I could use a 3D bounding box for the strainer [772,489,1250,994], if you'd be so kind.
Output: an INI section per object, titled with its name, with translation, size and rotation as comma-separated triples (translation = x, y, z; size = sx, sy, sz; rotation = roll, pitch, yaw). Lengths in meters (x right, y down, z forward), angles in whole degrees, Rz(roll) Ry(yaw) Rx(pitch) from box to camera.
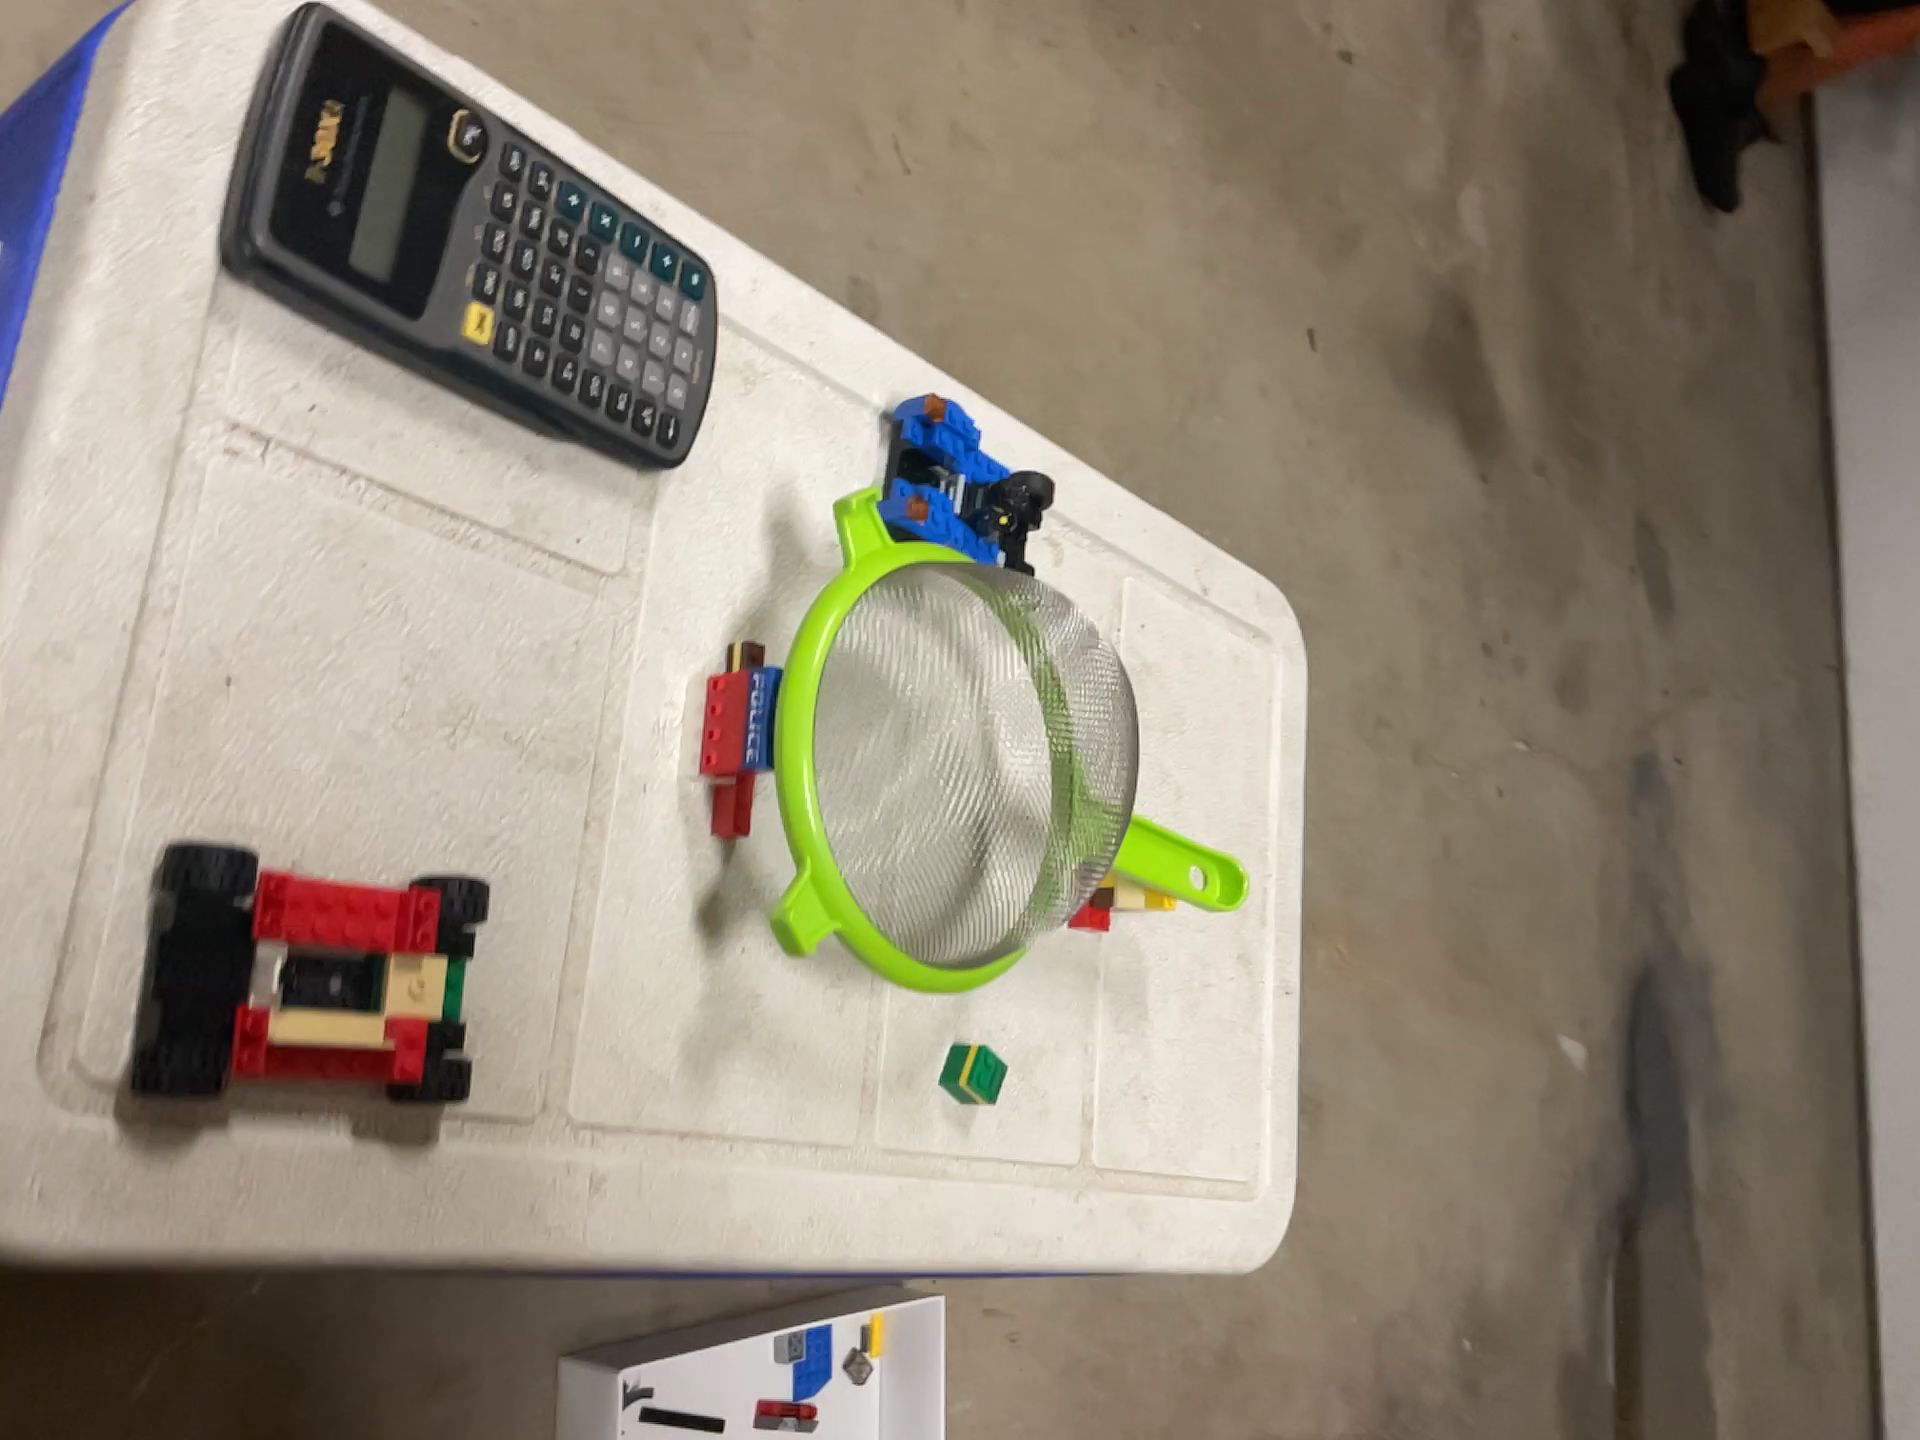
[strainer]
translation = 0.049, 0.027, 0.556
size = 0.256, 0.069, 0.152
rotation = 25, 64, -44
